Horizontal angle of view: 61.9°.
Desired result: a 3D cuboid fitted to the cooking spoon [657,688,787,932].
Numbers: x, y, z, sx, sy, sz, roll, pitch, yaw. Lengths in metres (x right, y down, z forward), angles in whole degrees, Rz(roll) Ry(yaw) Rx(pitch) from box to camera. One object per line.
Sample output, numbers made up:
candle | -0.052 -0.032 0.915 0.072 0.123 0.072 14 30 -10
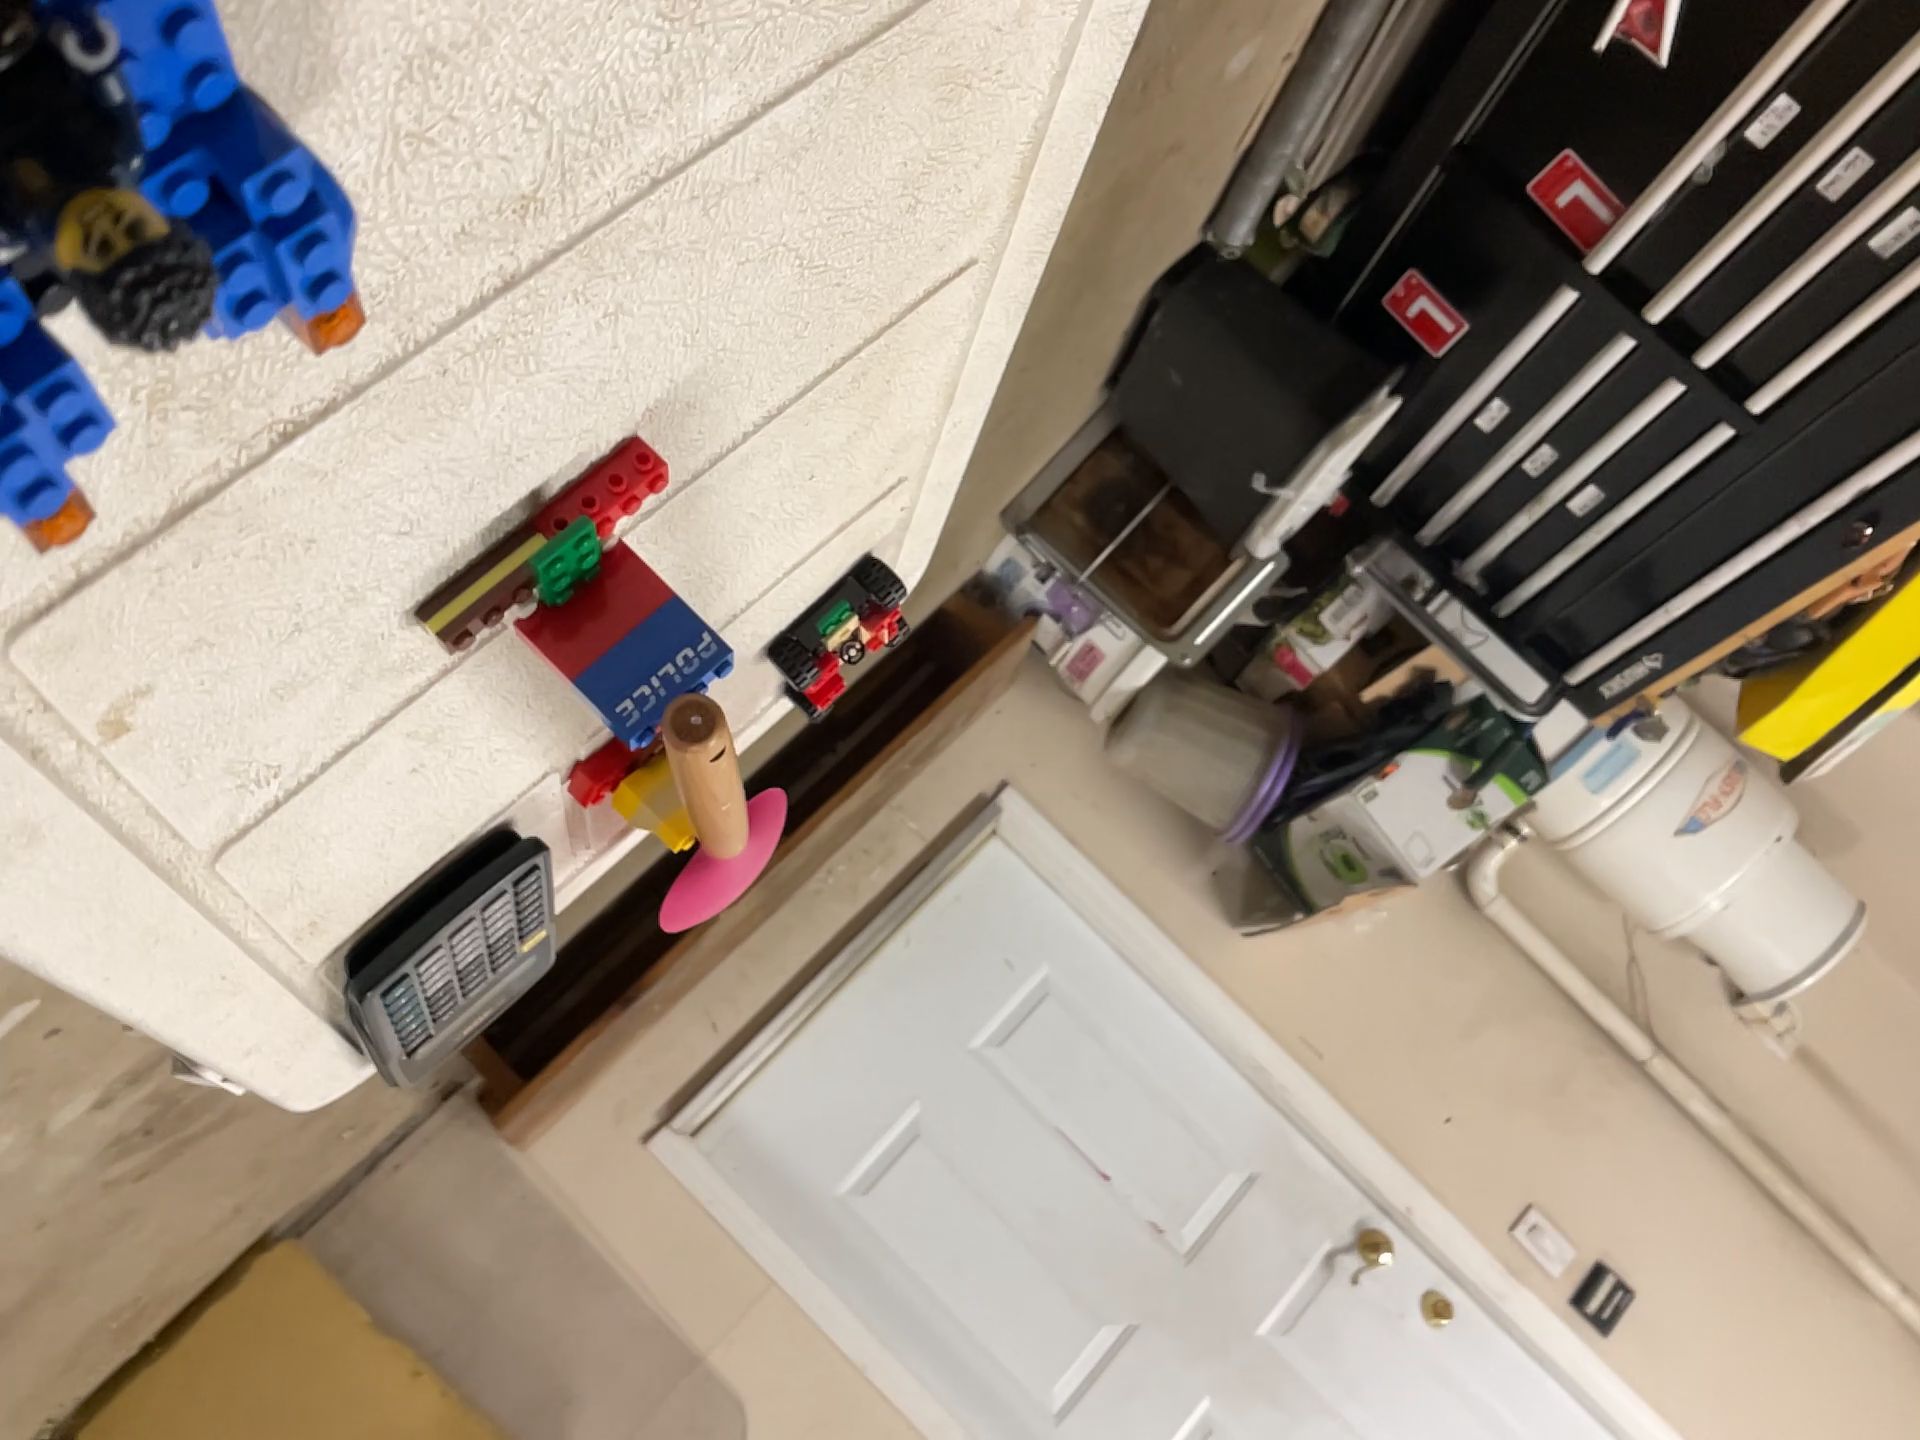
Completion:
cooking spoon | -0.075 0.033 0.504 0.069 0.017 0.318 -49 176 -13
